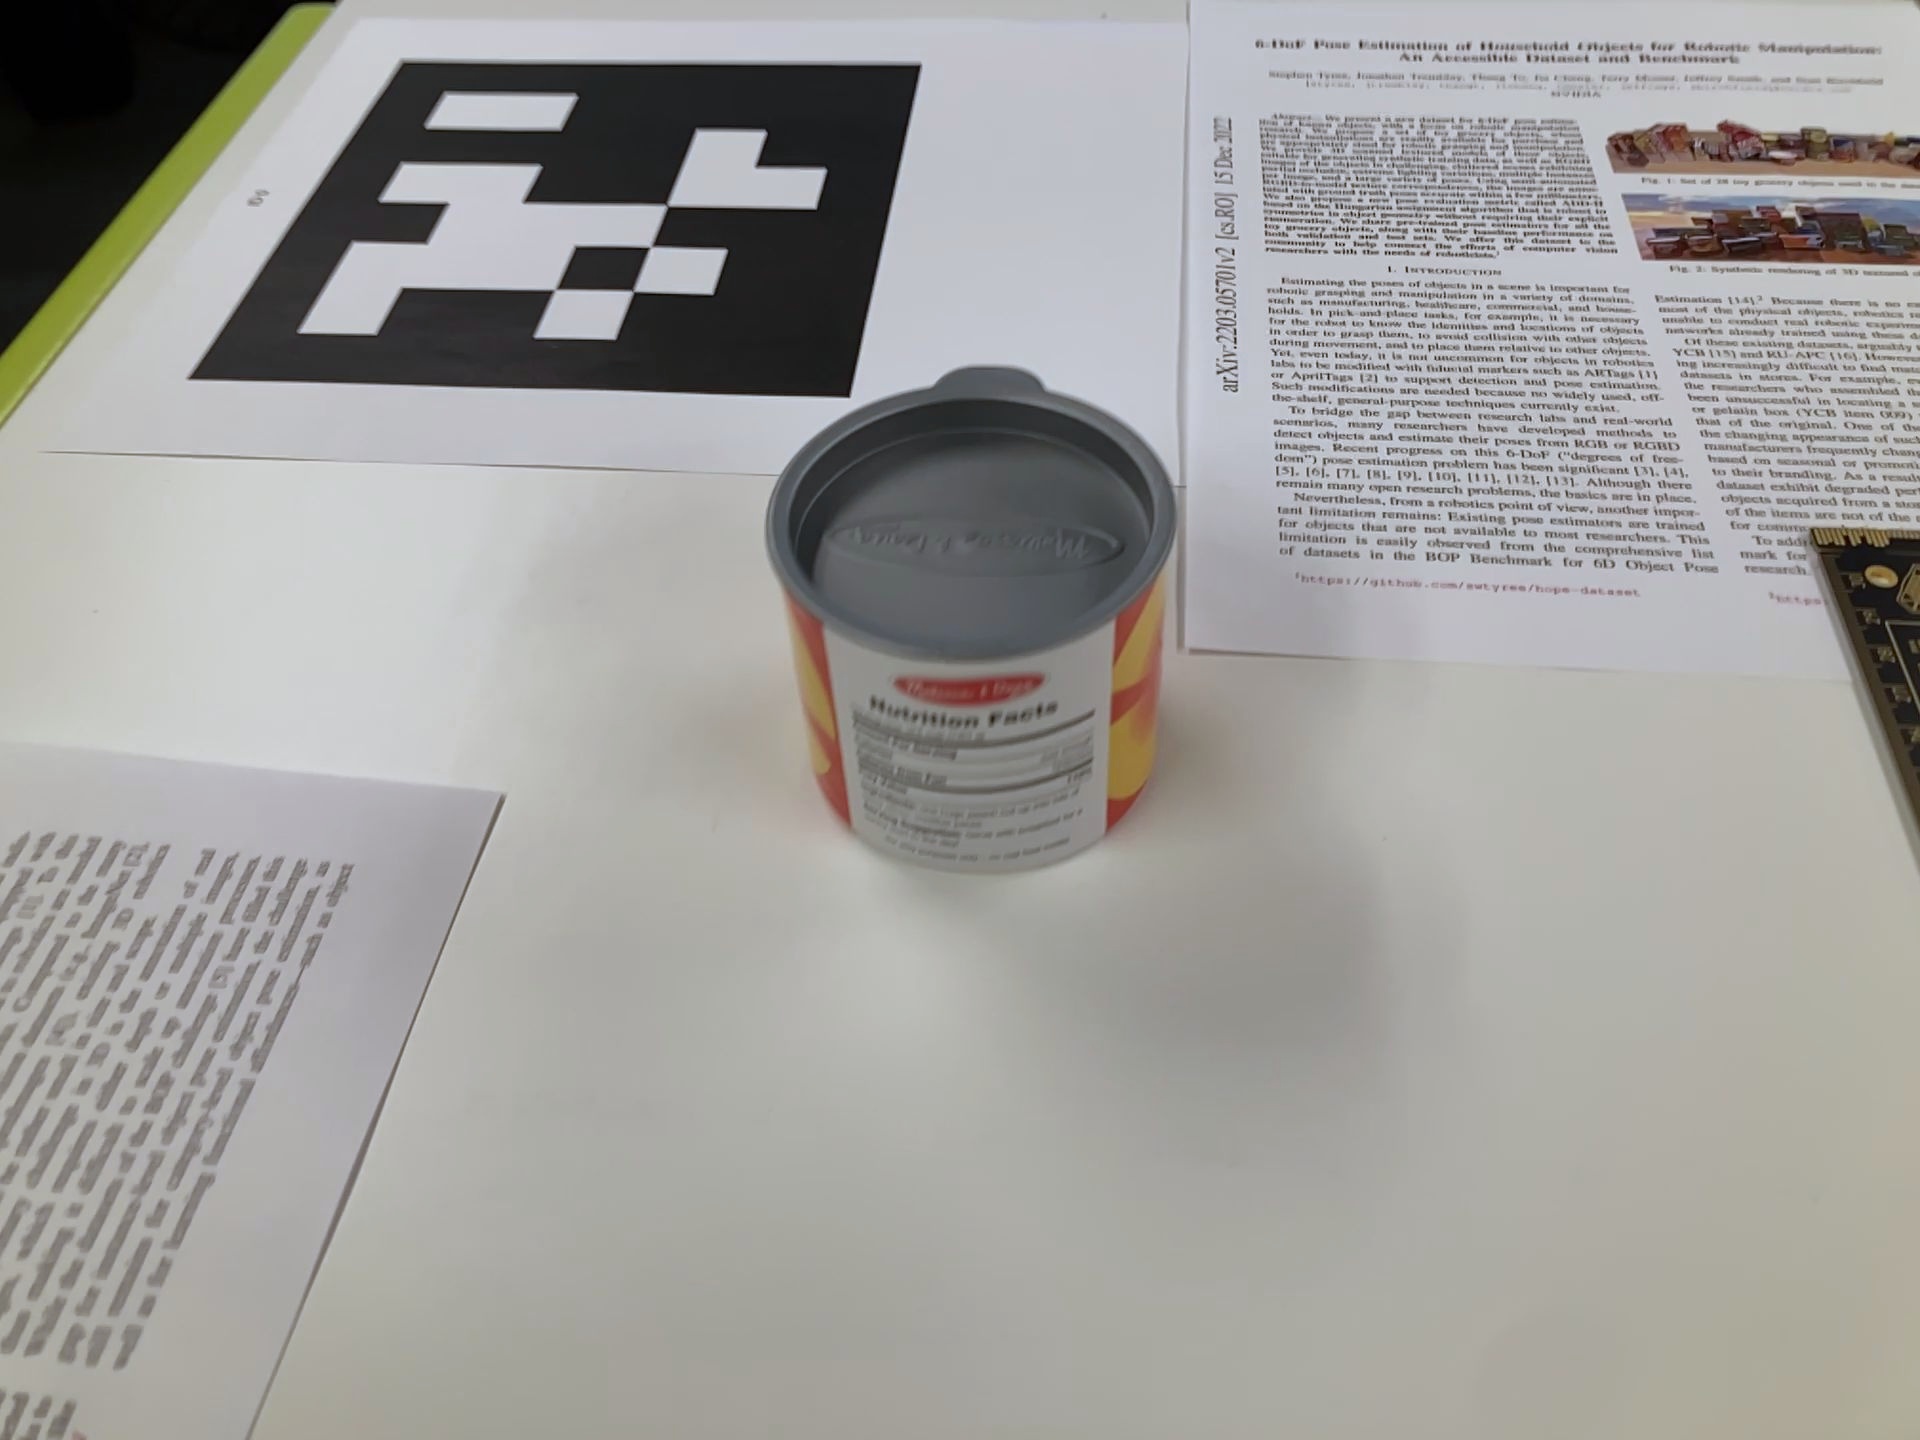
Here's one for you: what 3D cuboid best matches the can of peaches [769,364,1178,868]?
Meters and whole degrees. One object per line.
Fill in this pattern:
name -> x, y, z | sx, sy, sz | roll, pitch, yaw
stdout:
can of peaches -> 0.004, -0.018, 0.279 | 0.071, 0.058, 0.071 | -2, 48, 2
